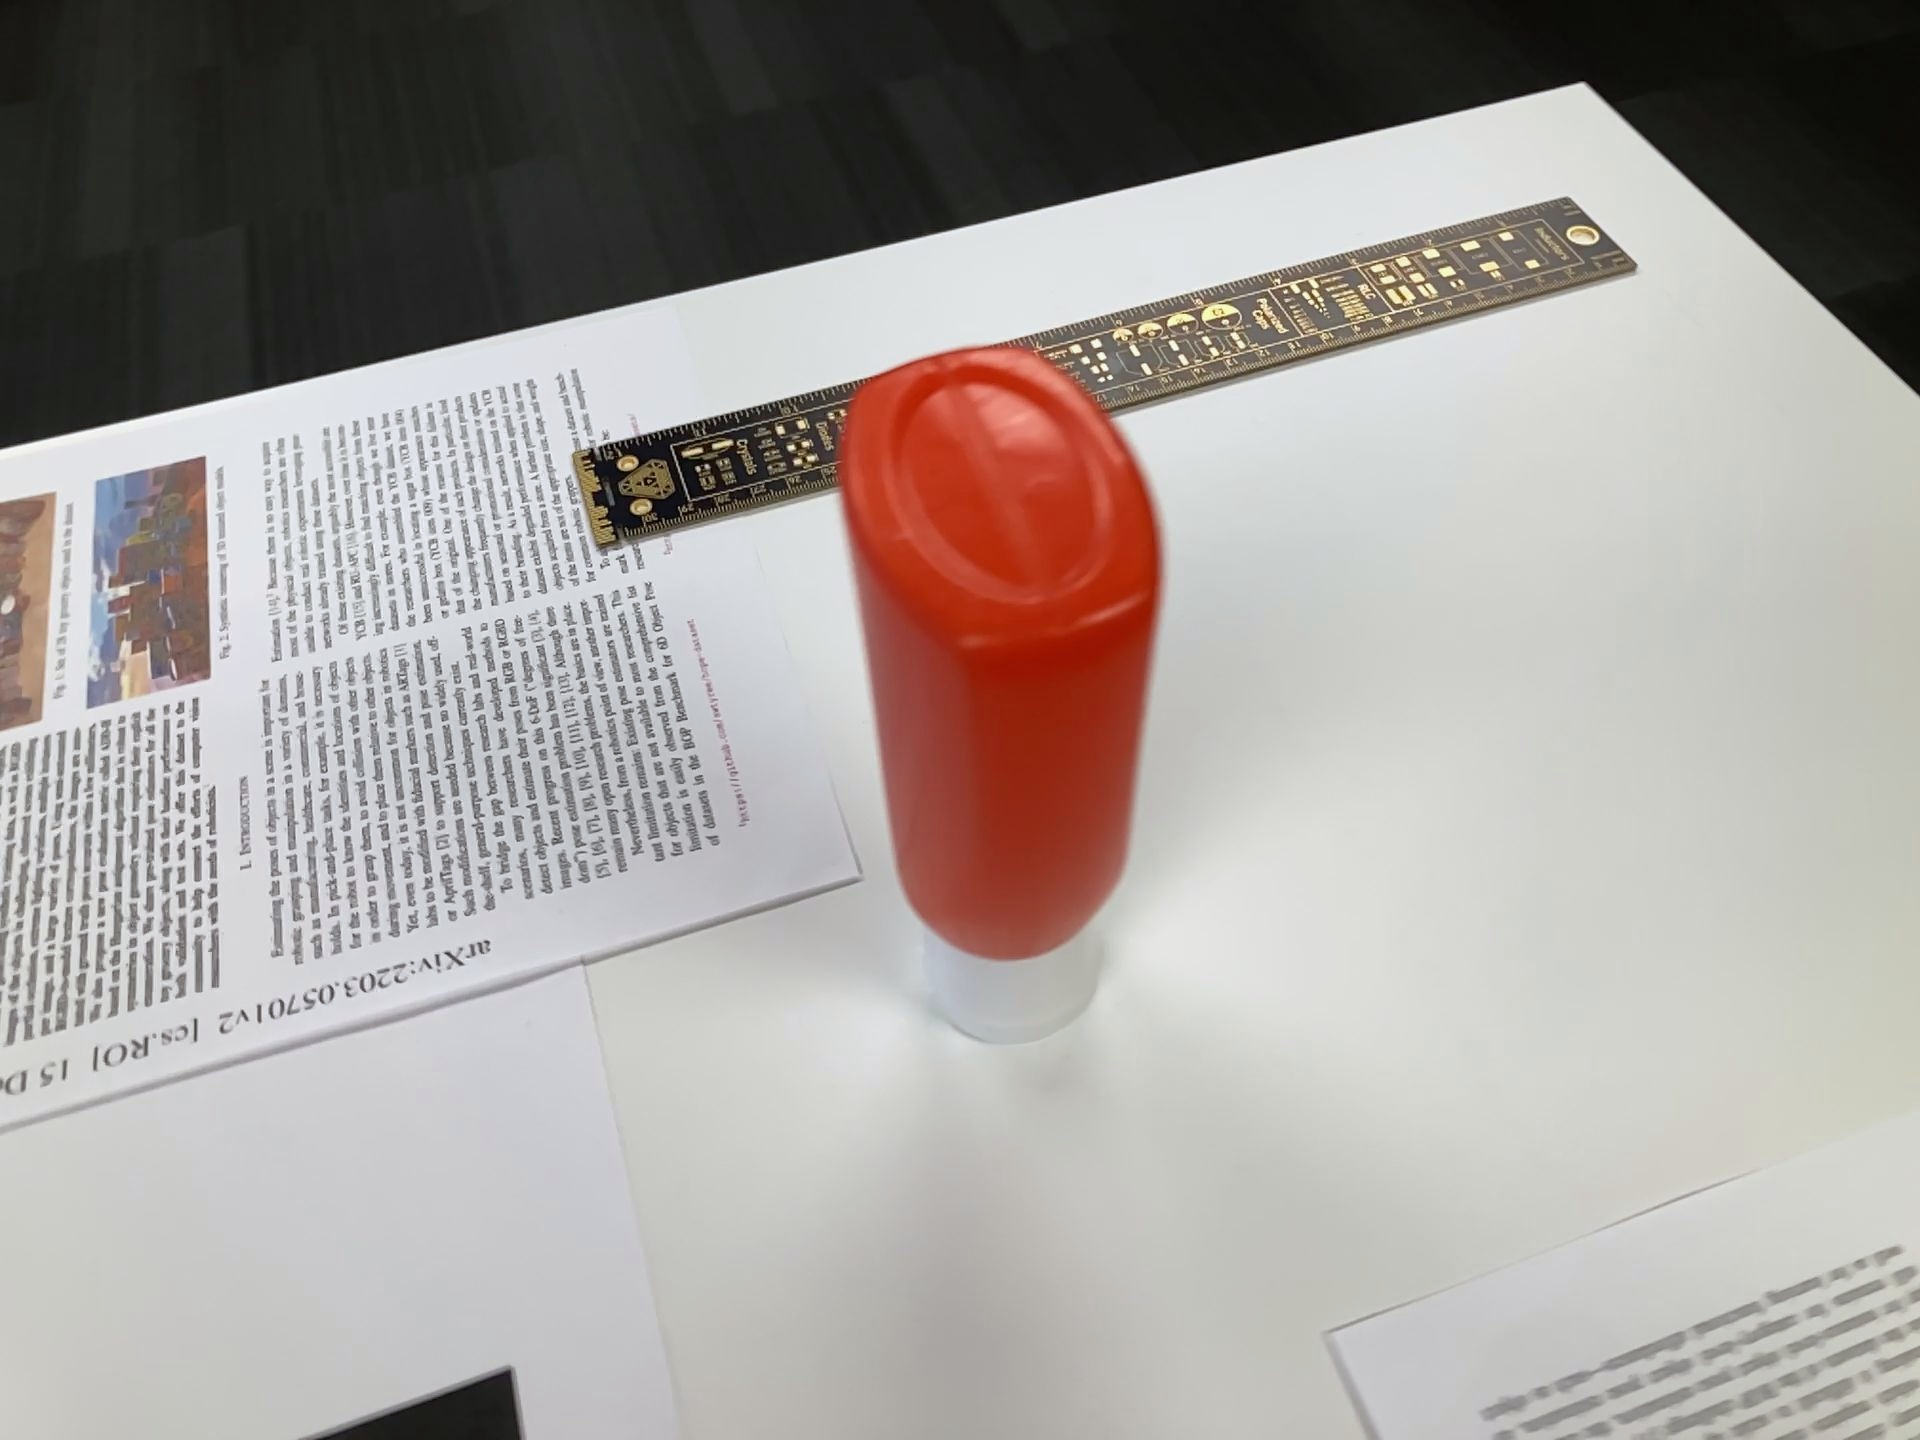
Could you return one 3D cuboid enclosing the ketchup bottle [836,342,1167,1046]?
[{"bbox_3d":[0.007,0.009,0.281,0.043,0.149,0.065,-15,54,-9],"label":"ketchup bottle"}]
